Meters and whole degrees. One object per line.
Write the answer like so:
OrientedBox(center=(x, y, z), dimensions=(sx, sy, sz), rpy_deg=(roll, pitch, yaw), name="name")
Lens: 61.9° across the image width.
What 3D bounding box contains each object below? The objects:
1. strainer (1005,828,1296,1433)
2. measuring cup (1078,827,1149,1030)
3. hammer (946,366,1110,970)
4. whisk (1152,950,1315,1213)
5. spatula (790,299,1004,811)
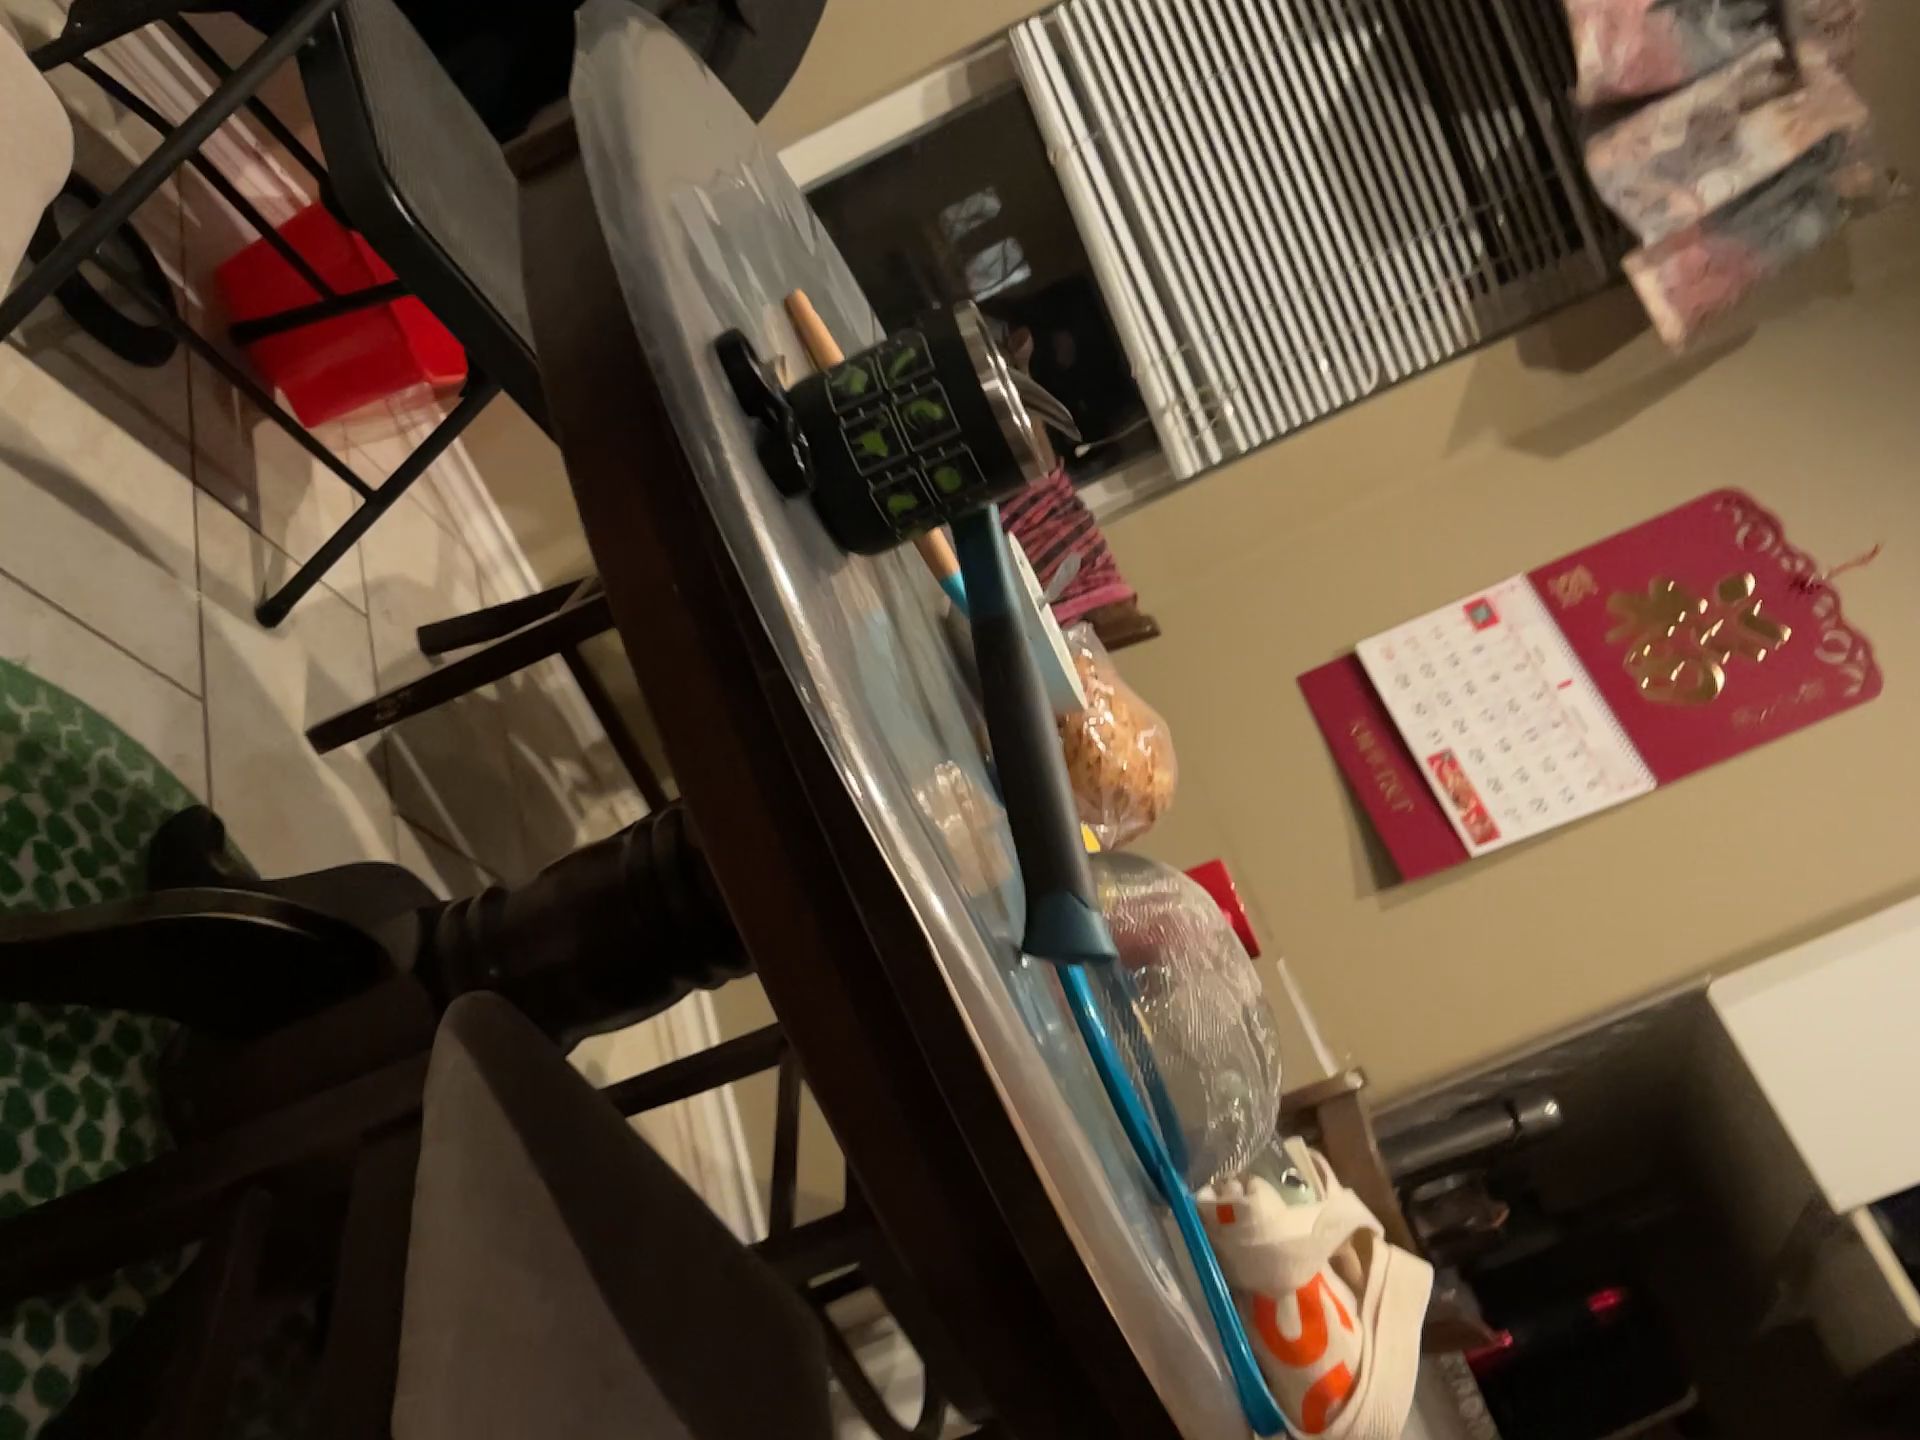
OrientedBox(center=(0.132, 0.194, 0.838), dimensions=(0.210, 0.095, 0.341), rpy_deg=(58, 6, -41), name="strainer")
OrientedBox(center=(0.100, 0.138, 1.027), dimensions=(0.156, 0.029, 0.062), rpy_deg=(63, 8, -12), name="measuring cup")
OrientedBox(center=(0.018, -0.035, 0.794), dimensions=(0.033, 0.128, 0.331), rpy_deg=(43, 33, -65), name="hammer")
OrientedBox(center=(0.172, 0.235, 1.048), dimensions=(0.246, 0.058, 0.059), rpy_deg=(-118, -150, -58), name="whisk")
OrientedBox(center=(-0.026, -0.095, 0.921), dimensions=(0.317, 0.044, 0.082), rpy_deg=(62, 8, -1), name="spatula")
